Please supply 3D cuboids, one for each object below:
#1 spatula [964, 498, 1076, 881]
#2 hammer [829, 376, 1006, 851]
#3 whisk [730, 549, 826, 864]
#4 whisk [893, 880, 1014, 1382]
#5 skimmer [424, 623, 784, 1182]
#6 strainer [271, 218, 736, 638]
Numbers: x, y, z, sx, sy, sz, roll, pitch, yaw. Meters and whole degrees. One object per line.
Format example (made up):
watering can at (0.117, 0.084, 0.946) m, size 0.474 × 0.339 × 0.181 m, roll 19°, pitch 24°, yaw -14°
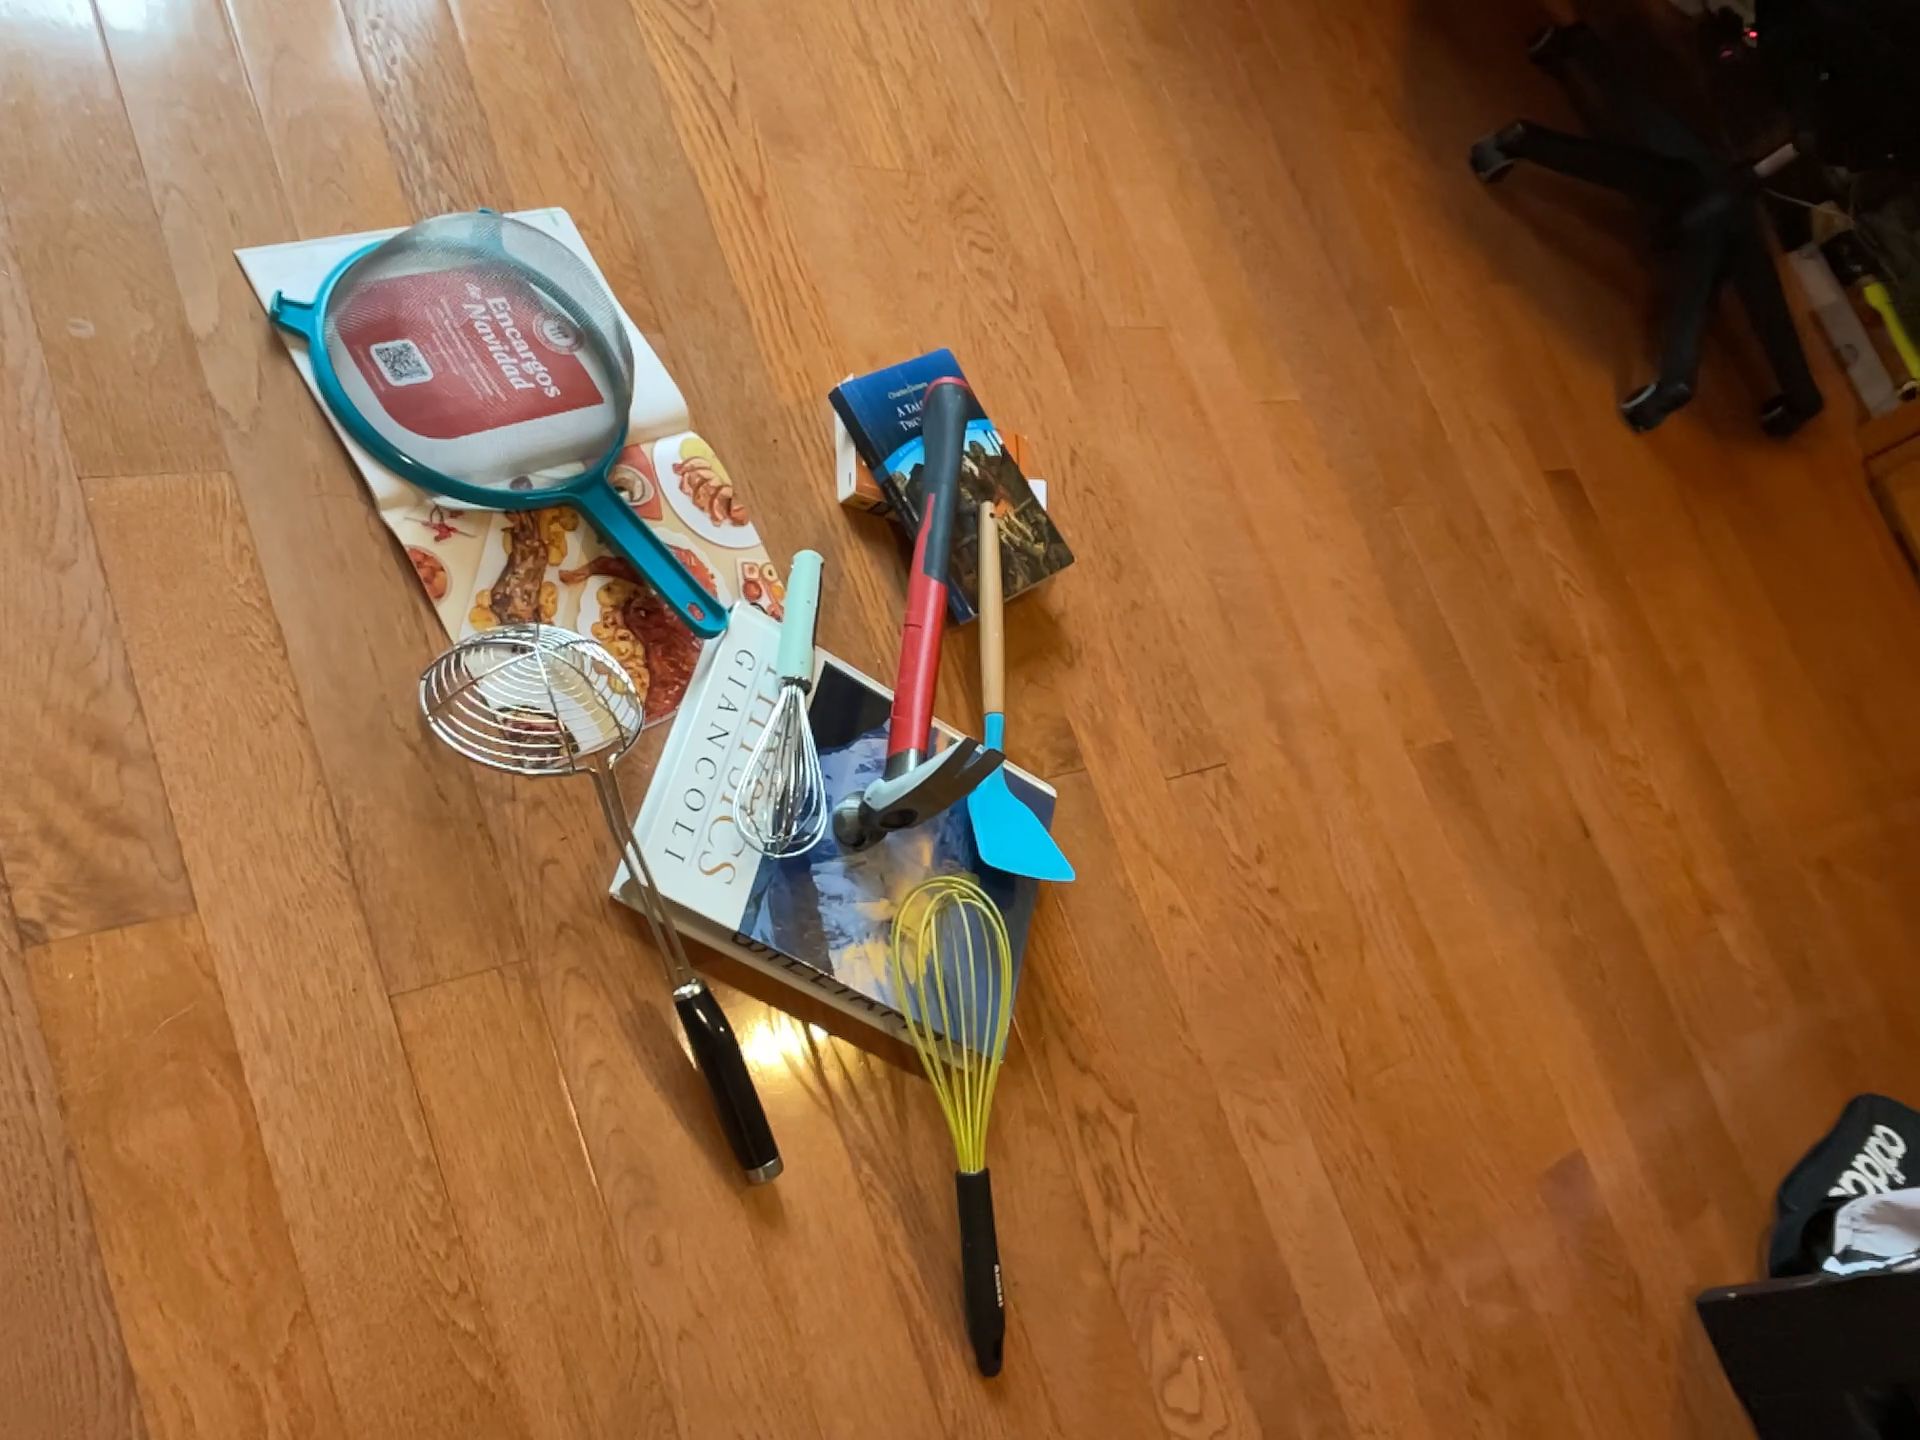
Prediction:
spatula at (0.031, -0.030, 1.154) m, size 0.082 × 0.044 × 0.318 m, roll 15°, pitch 59°, yaw -30°
hammer at (-0.013, -0.102, 1.103) m, size 0.038 × 0.143 × 0.387 m, roll 28°, pitch 50°, yaw -29°
whisk at (-0.109, -0.015, 1.040) m, size 0.059 × 0.057 × 0.247 m, roll 5°, pitch 55°, yaw -3°
whisk at (0.005, 0.257, 1.004) m, size 0.080 × 0.067 × 0.312 m, roll -1°, pitch 82°, yaw -55°
skimmer at (-0.202, 0.109, 0.958) m, size 0.127 × 0.090 × 0.363 m, roll -27°, pitch 96°, yaw -46°
strainer at (-0.252, -0.199, 1.020) m, size 0.340 × 0.095 × 0.211 m, roll 47°, pitch 46°, yaw 0°
